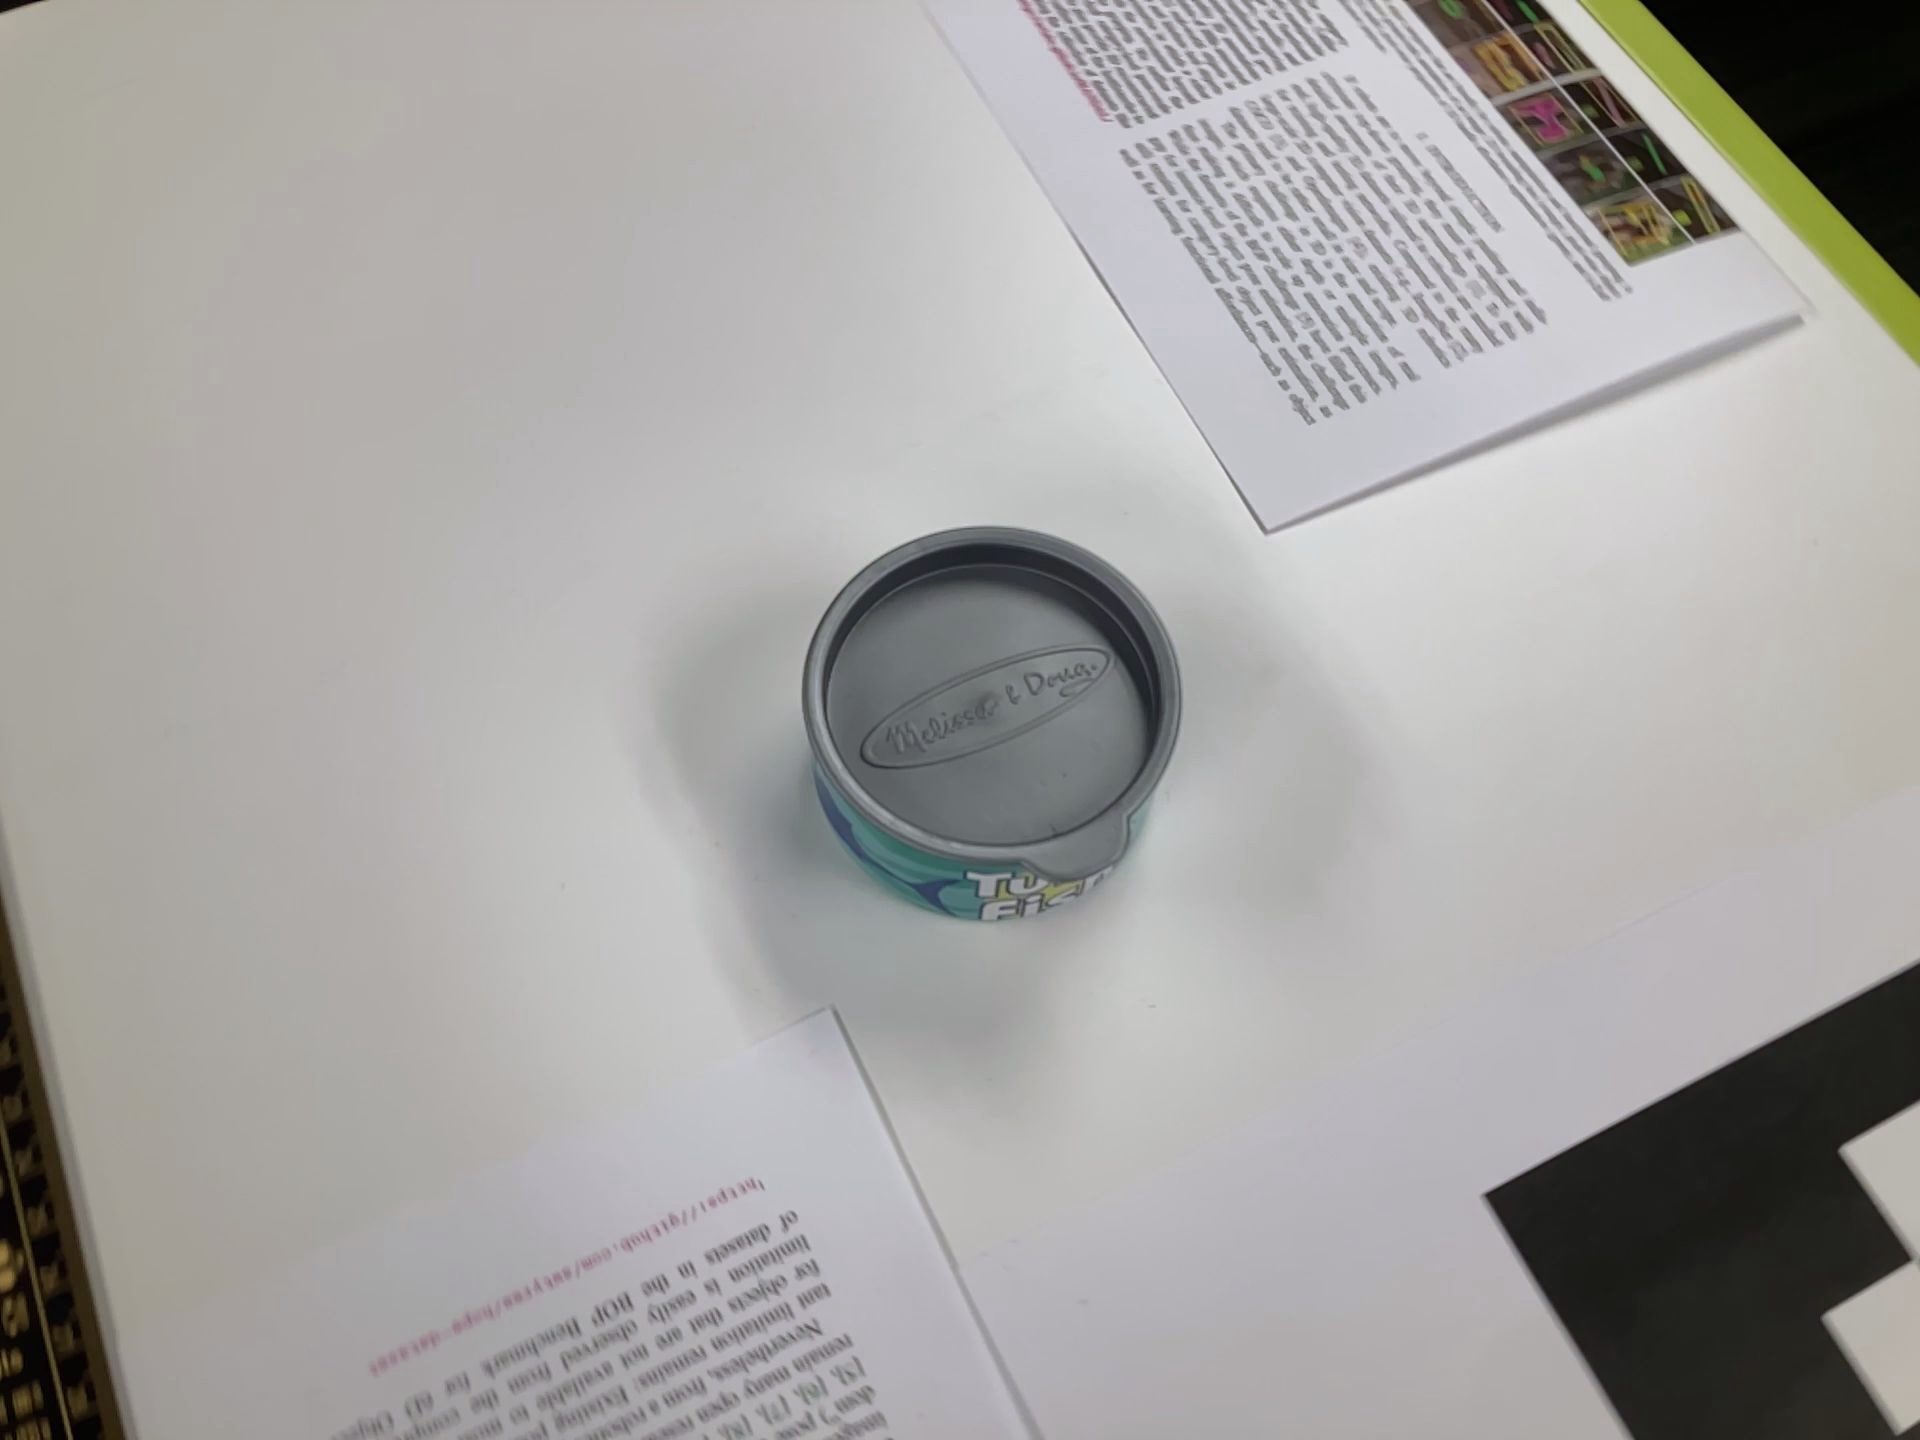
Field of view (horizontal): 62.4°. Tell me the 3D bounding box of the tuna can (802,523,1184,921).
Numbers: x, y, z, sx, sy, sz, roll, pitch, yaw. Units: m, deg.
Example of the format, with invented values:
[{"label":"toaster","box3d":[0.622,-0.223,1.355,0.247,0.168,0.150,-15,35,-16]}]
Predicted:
[{"label":"tuna can","box3d":[0.006,0.003,0.285,0.071,0.033,0.071,1,63,-2]}]
